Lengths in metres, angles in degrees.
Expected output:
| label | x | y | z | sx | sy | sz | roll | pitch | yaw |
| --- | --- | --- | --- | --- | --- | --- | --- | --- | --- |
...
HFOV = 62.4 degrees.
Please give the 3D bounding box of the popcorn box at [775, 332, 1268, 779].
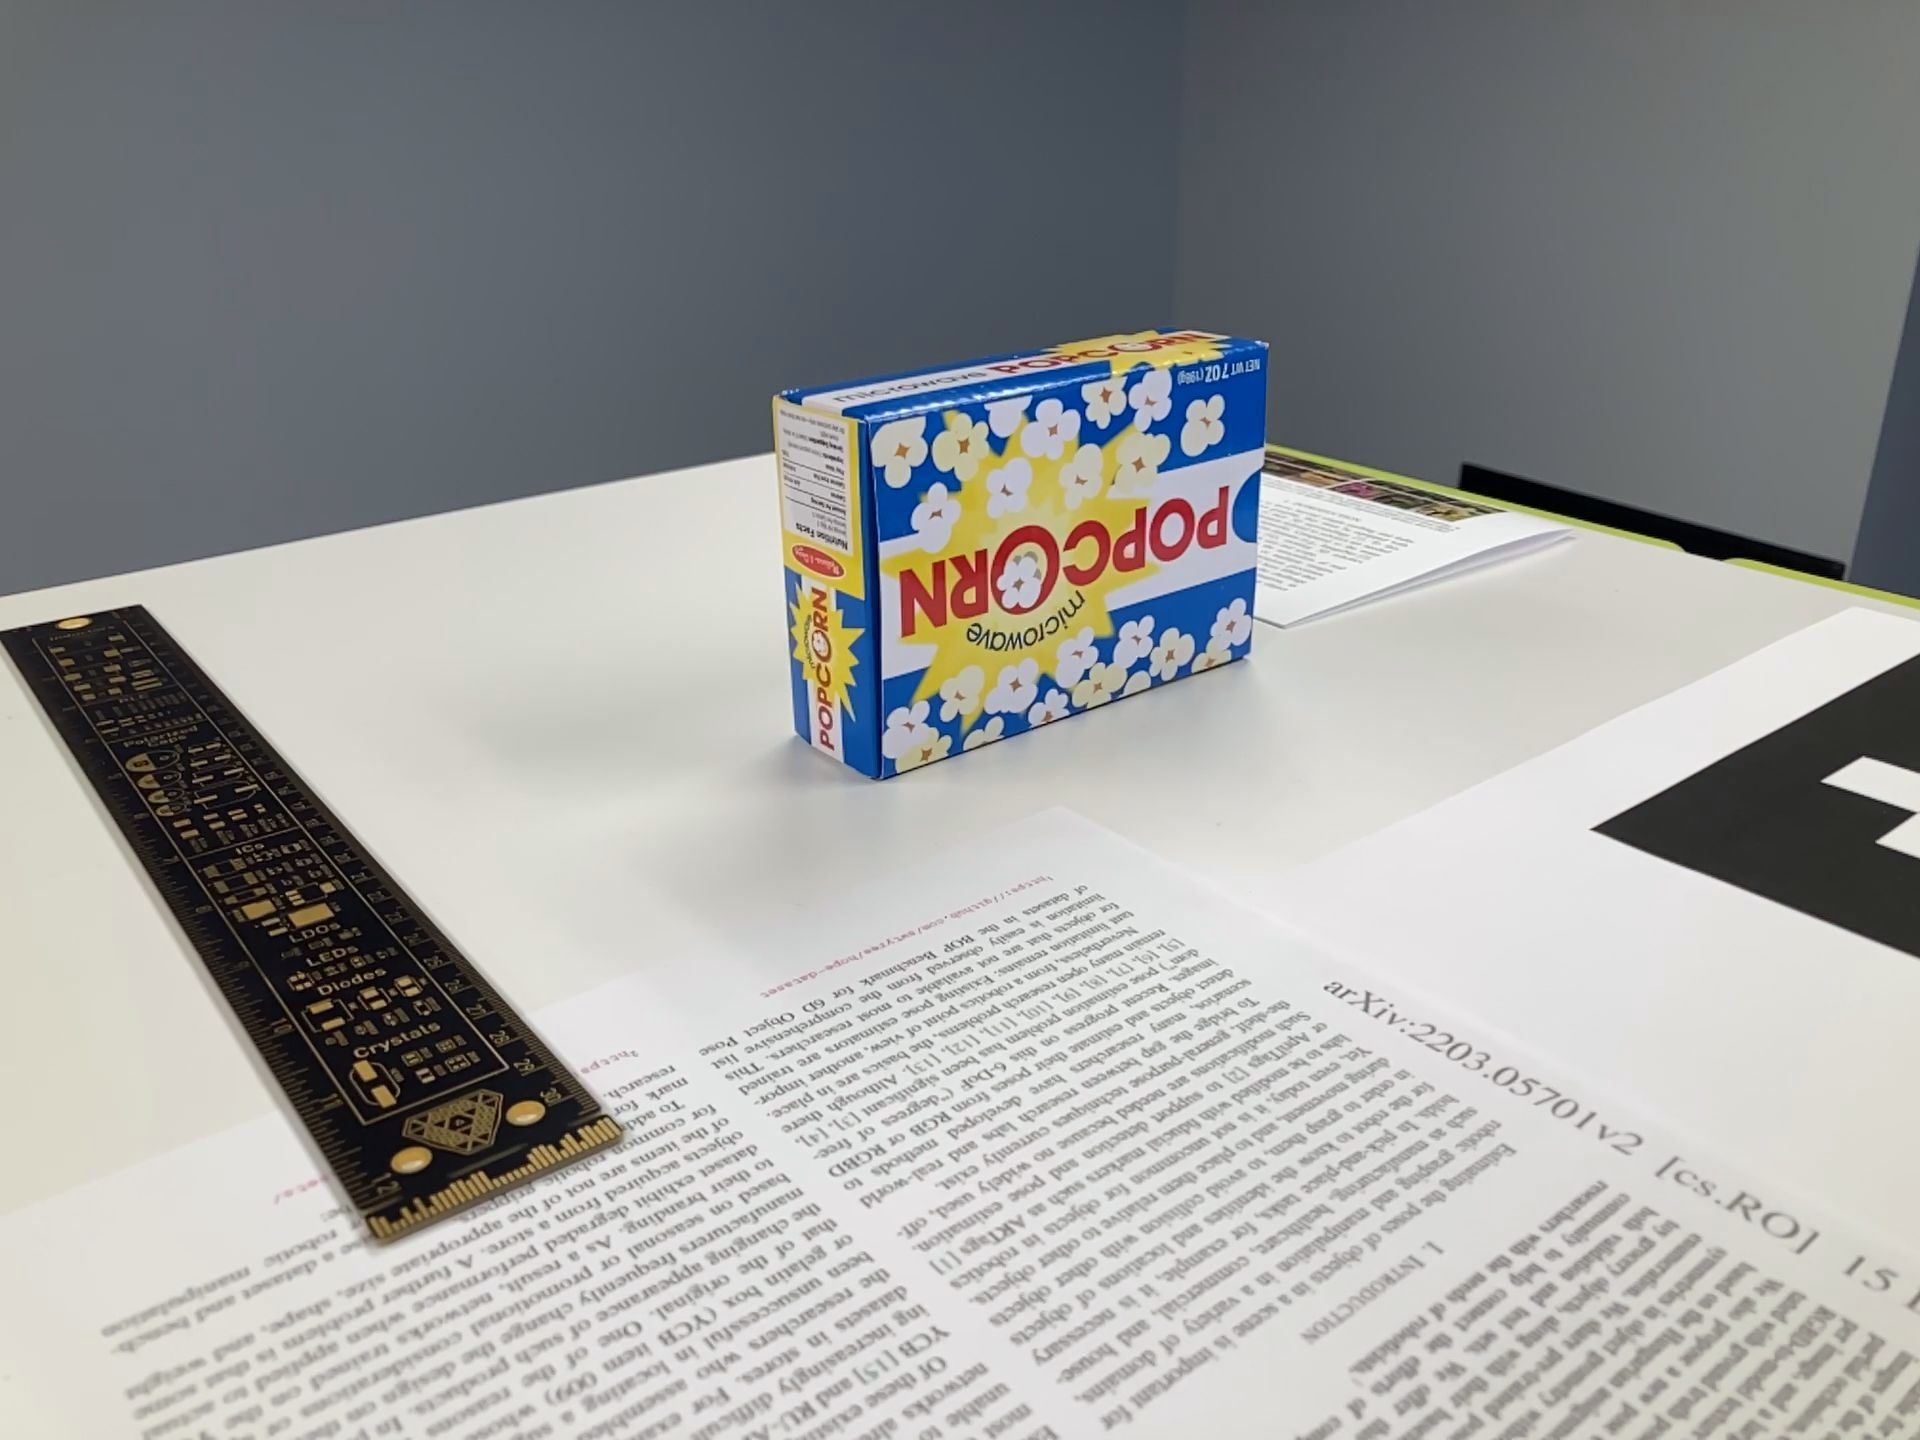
| label | x | y | z | sx | sy | sz | roll | pitch | yaw |
| --- | --- | --- | --- | --- | --- | --- | --- | --- | --- |
| popcorn box | 0.018 | -0.045 | 0.393 | 0.126 | 0.085 | 0.038 | -18 | 28 | -34 |
